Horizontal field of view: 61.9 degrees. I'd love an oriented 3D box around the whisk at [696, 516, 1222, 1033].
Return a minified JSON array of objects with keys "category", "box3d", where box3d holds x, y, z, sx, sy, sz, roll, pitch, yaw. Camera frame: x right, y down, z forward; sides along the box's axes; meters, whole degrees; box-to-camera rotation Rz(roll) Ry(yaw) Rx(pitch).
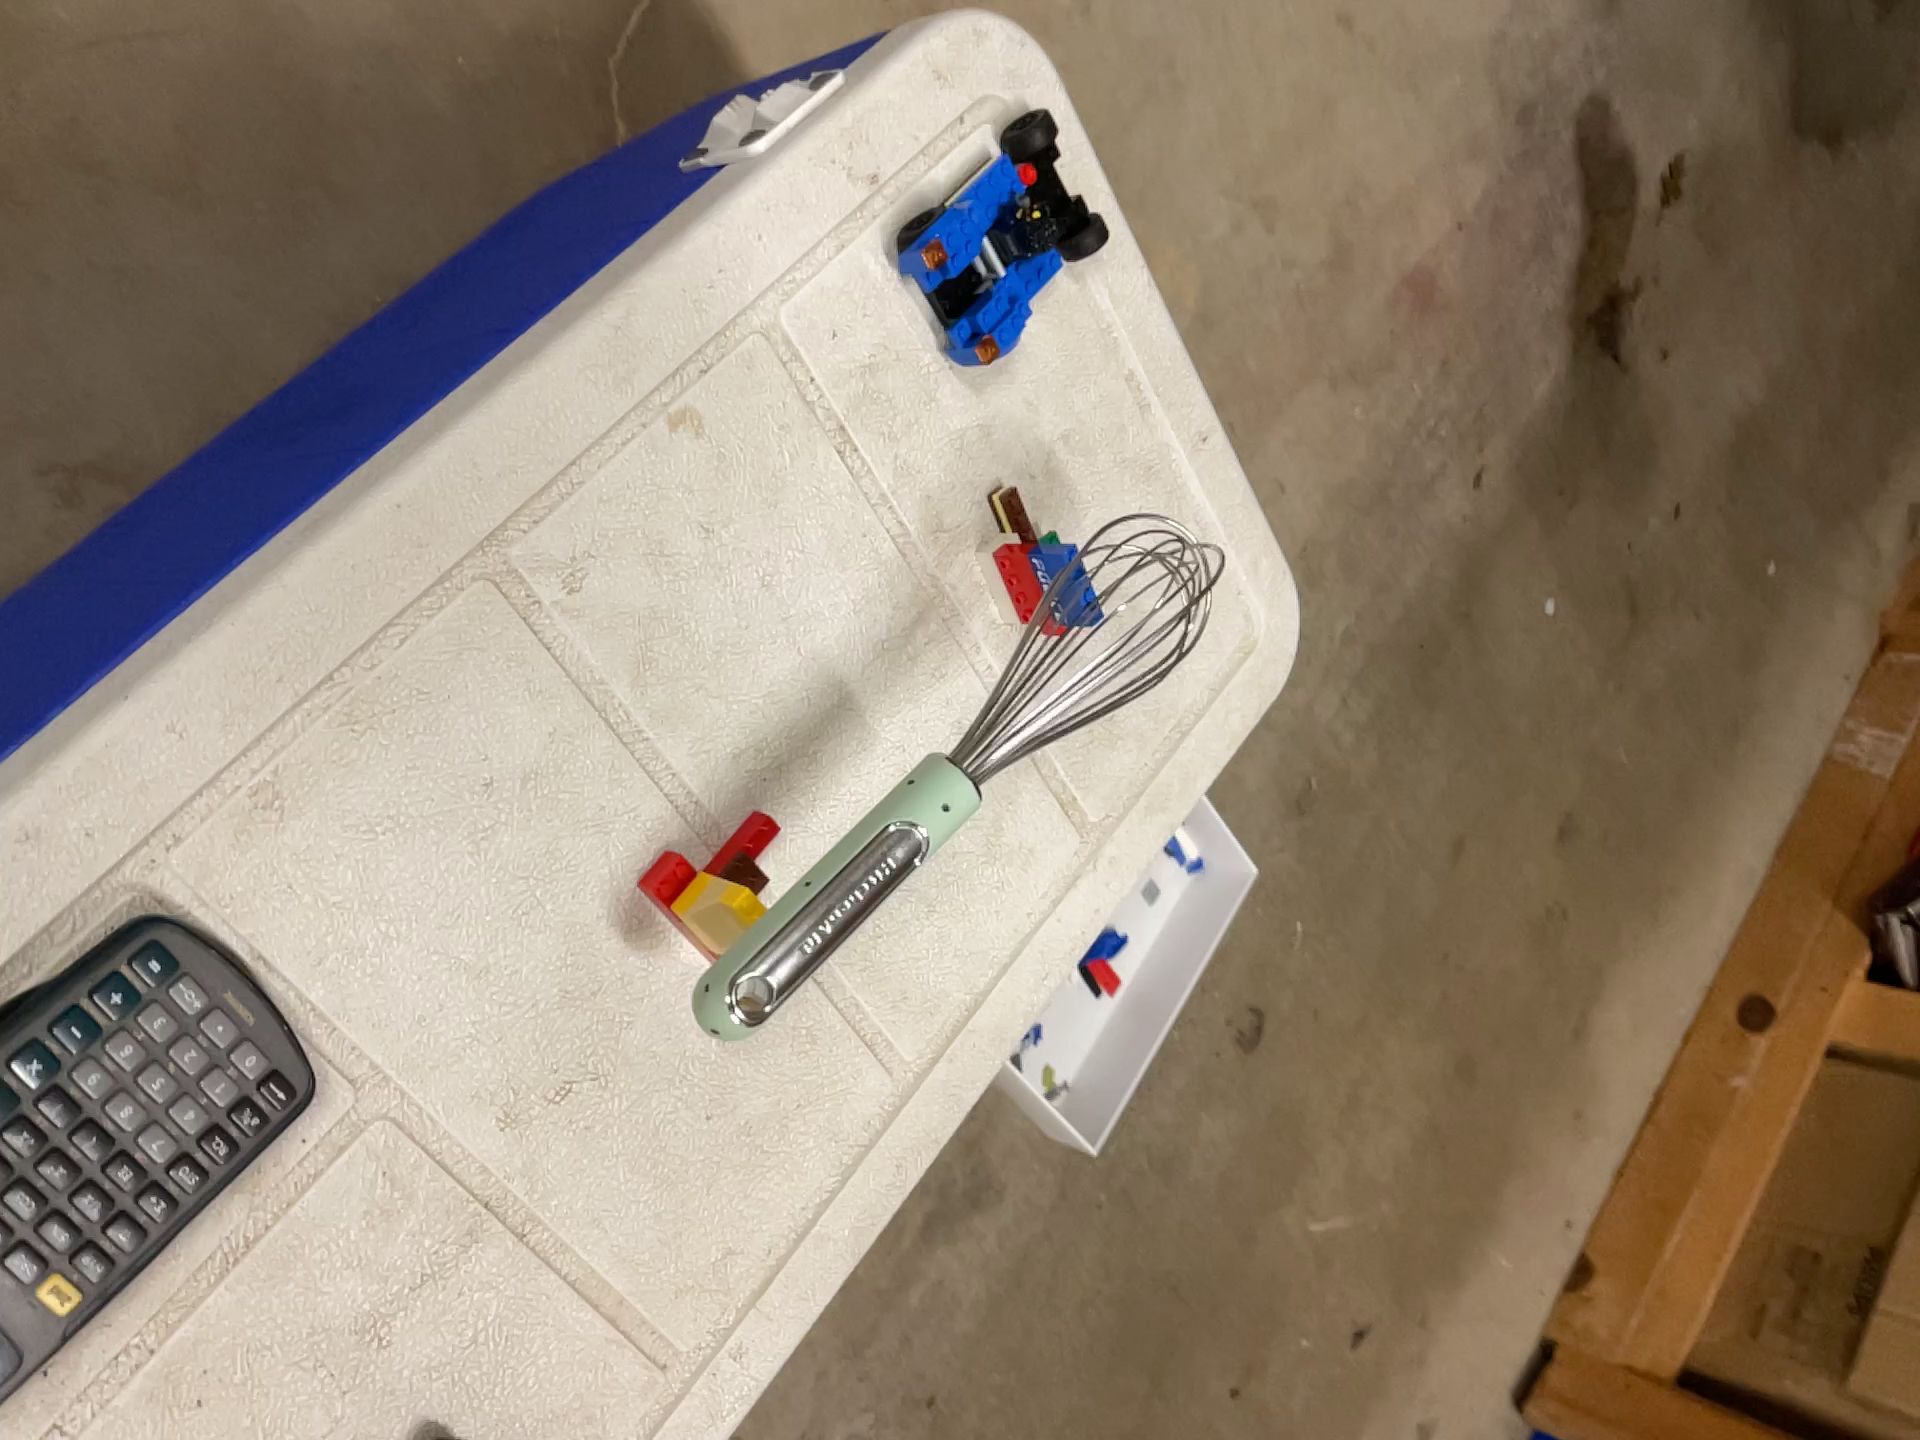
[{"category":"whisk","box3d":[0.004,0.015,0.545,0.246,0.059,0.057,-44,115,-20]}]
